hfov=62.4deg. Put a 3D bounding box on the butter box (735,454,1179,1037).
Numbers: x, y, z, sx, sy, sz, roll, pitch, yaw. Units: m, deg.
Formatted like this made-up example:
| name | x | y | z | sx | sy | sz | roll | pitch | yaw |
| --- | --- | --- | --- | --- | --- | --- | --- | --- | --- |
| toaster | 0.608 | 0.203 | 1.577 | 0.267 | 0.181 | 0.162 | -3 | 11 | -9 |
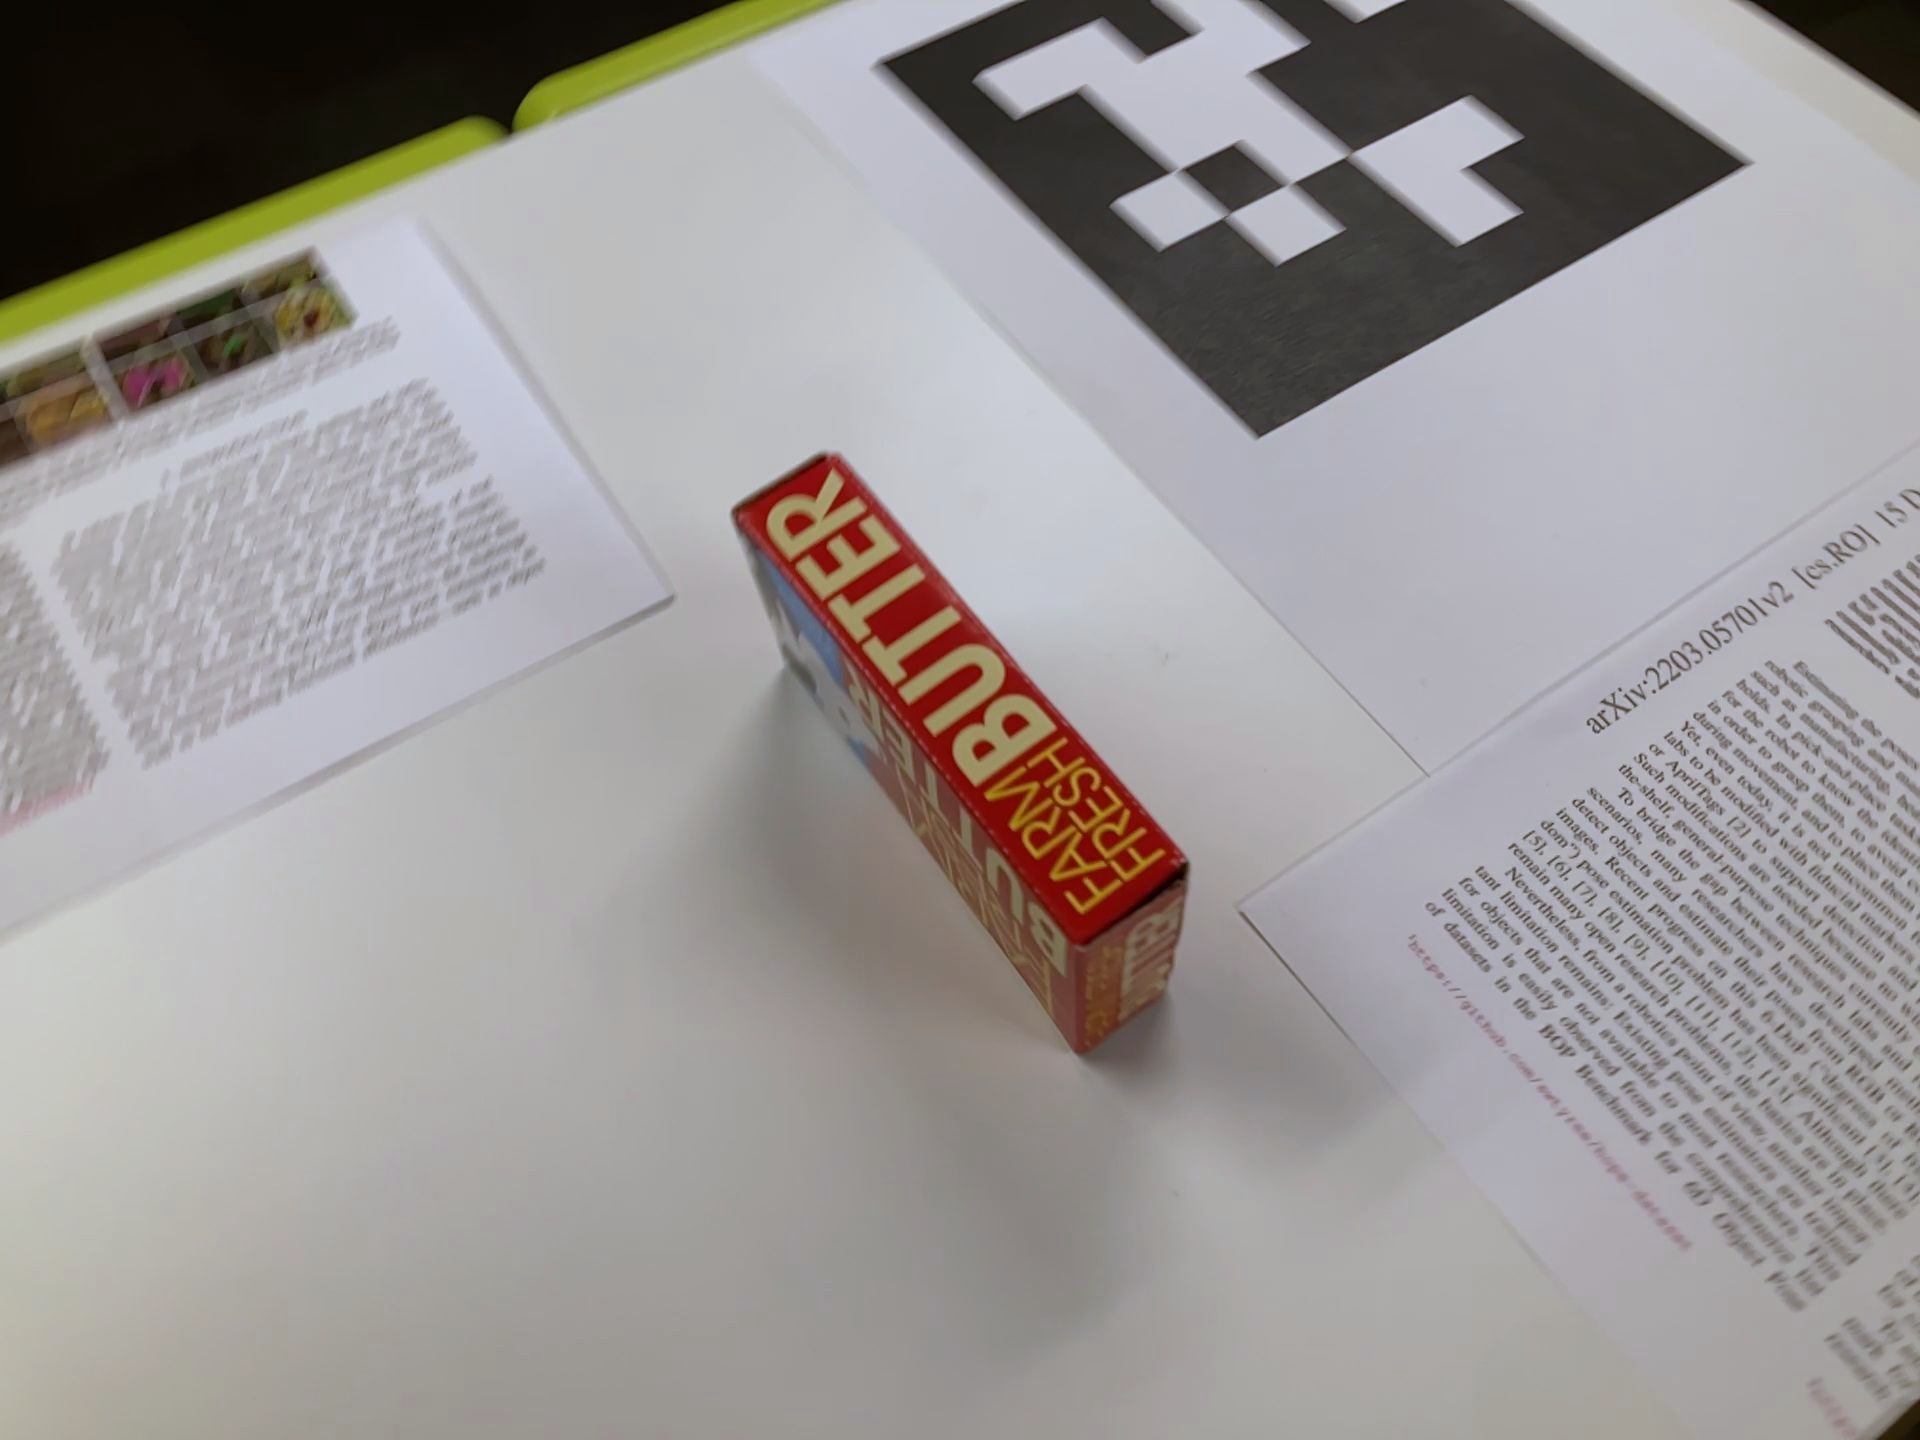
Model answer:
| name | x | y | z | sx | sy | sz | roll | pitch | yaw |
| --- | --- | --- | --- | --- | --- | --- | --- | --- | --- |
| butter box | -0.001 | 0.004 | 0.286 | 0.024 | 0.053 | 0.103 | -33 | 63 | -12 |
